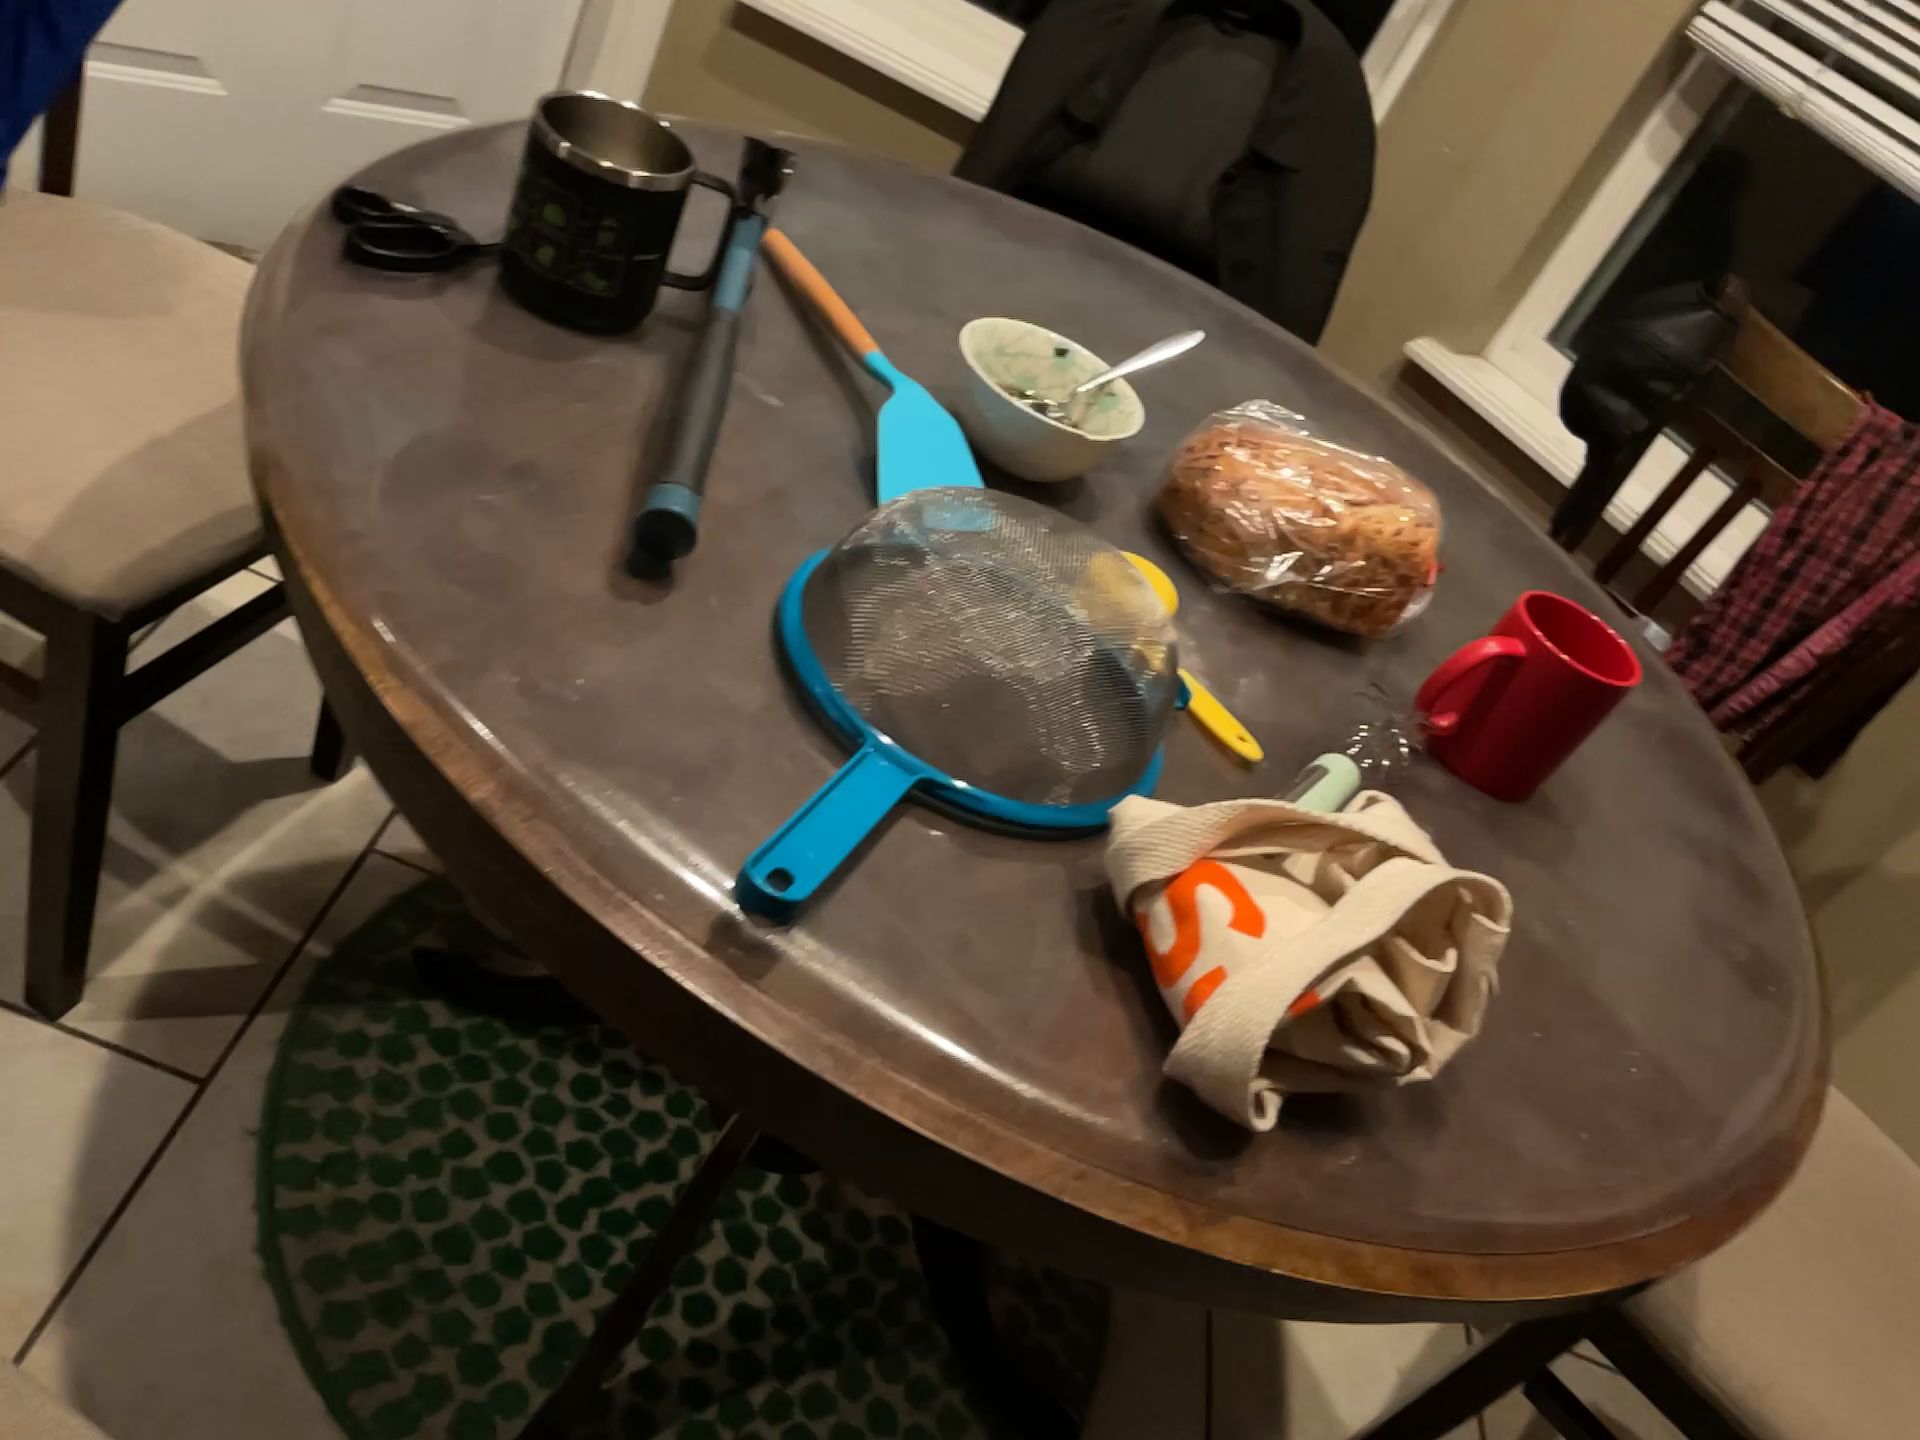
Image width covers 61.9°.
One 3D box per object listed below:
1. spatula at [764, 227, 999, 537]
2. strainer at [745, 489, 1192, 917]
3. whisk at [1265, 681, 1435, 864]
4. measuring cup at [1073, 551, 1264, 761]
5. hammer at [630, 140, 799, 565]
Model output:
[{"bbox_3d":[-0.069,-0.223,0.996,0.082,0.044,0.318,0,40,-34],"label":"spatula"},{"bbox_3d":[0.002,-0.025,0.729,0.211,0.095,0.340,33,31,6],"label":"strainer"},{"bbox_3d":[0.195,0.027,0.815,0.246,0.057,0.059,-26,93,-60],"label":"whisk"},{"bbox_3d":[0.122,-0.039,0.888,0.062,0.029,0.157,-8,48,-41],"label":"measuring cup"},{"bbox_3d":[-0.133,-0.201,0.866,0.033,0.128,0.331,16,45,-13],"label":"hammer"}]
